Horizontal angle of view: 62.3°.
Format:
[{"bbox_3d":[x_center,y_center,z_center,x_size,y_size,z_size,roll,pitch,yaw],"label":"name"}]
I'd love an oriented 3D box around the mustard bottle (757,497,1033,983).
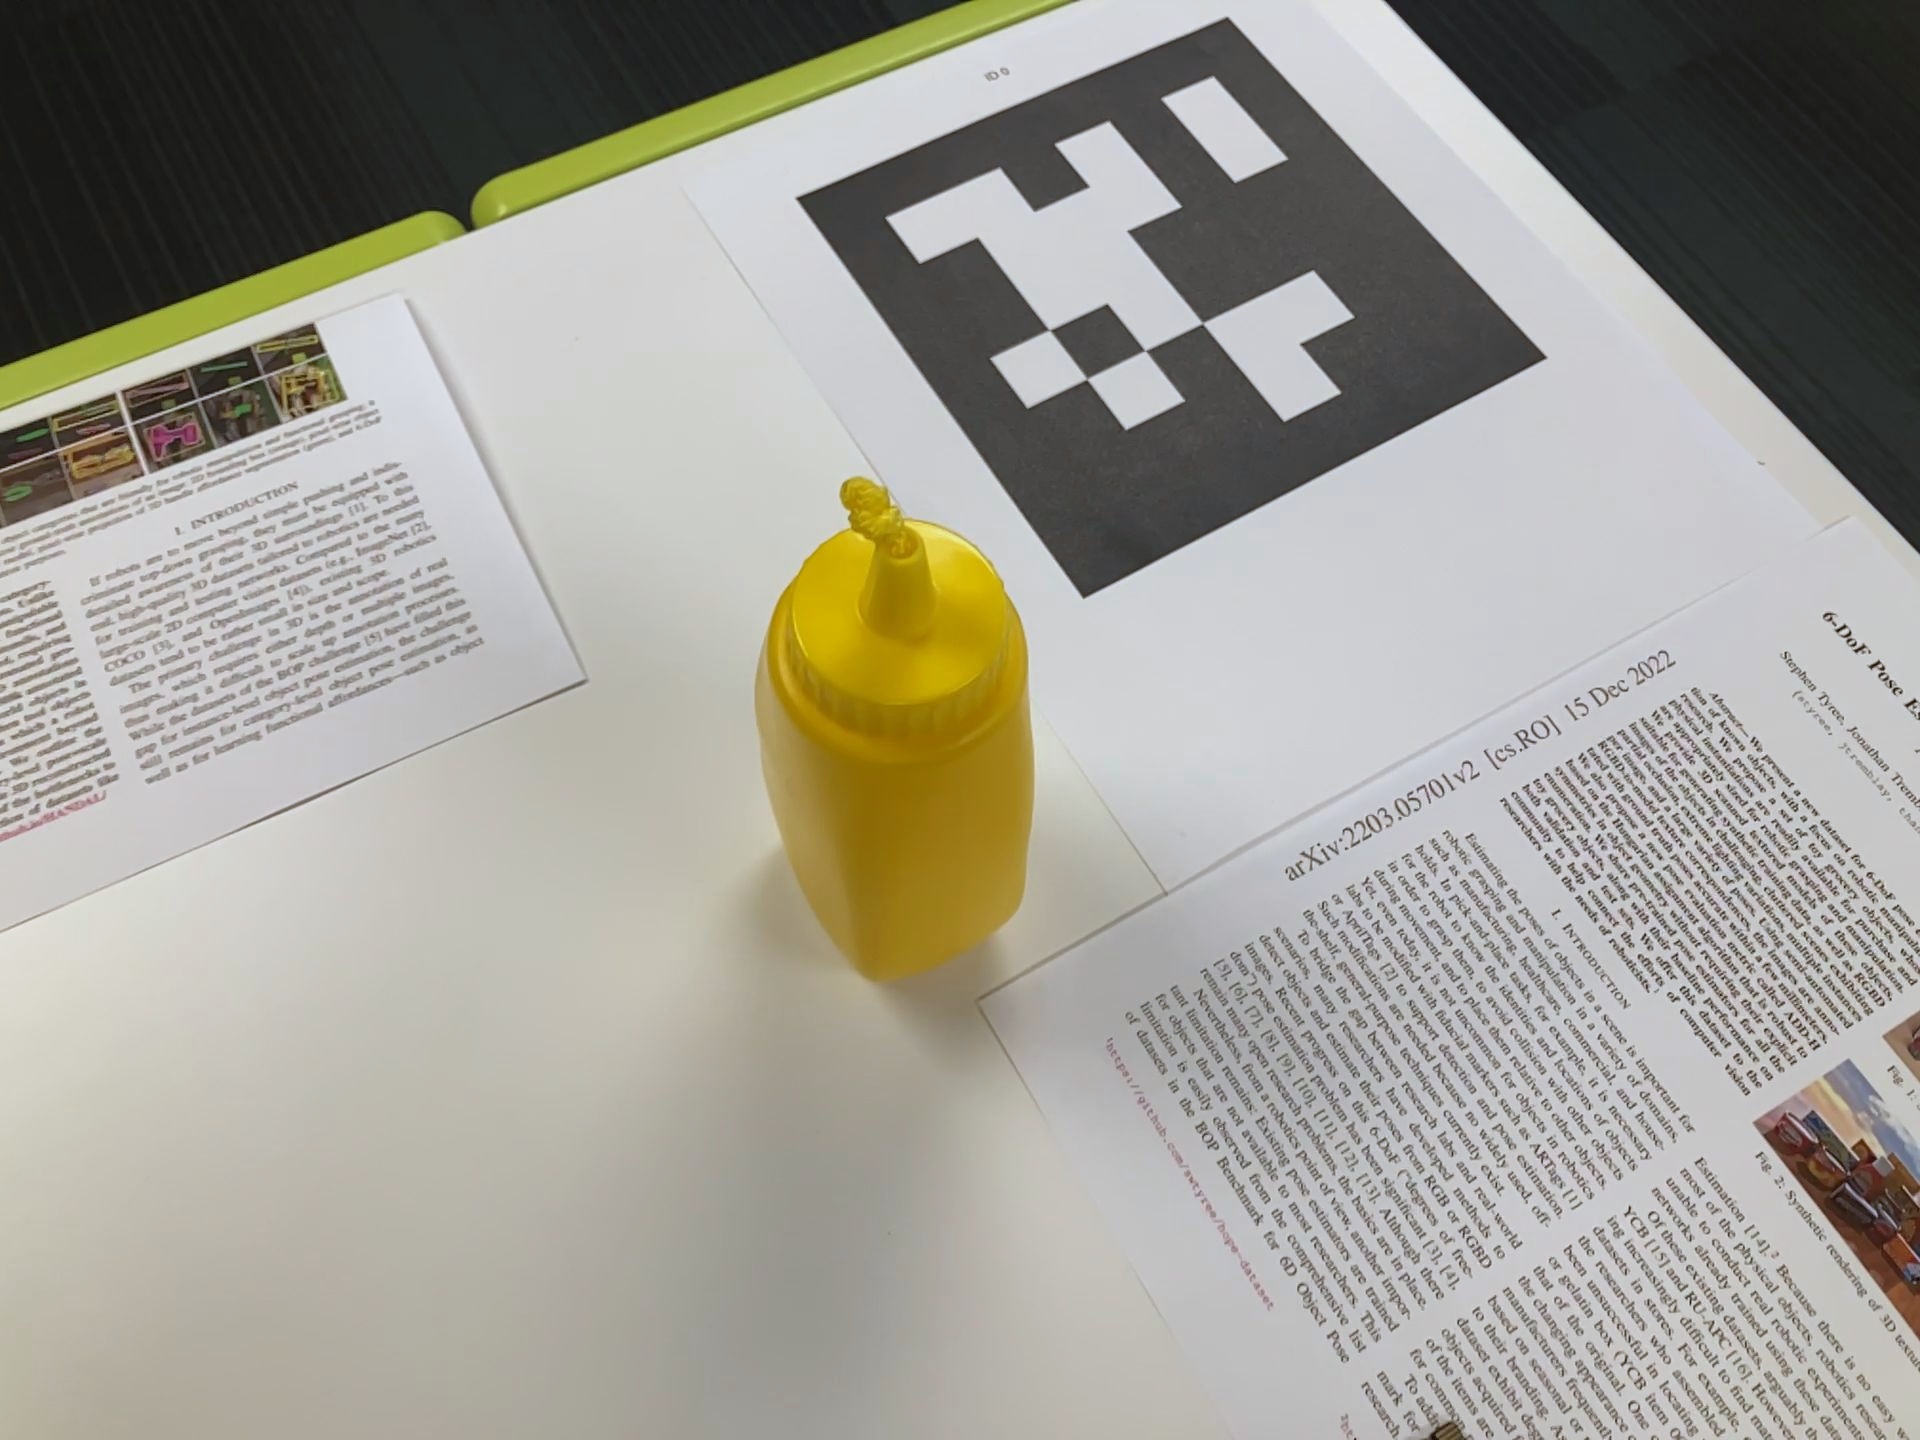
[{"bbox_3d":[-0.012,0.003,0.317,0.049,0.160,0.065,-23,68,-14],"label":"mustard bottle"}]
